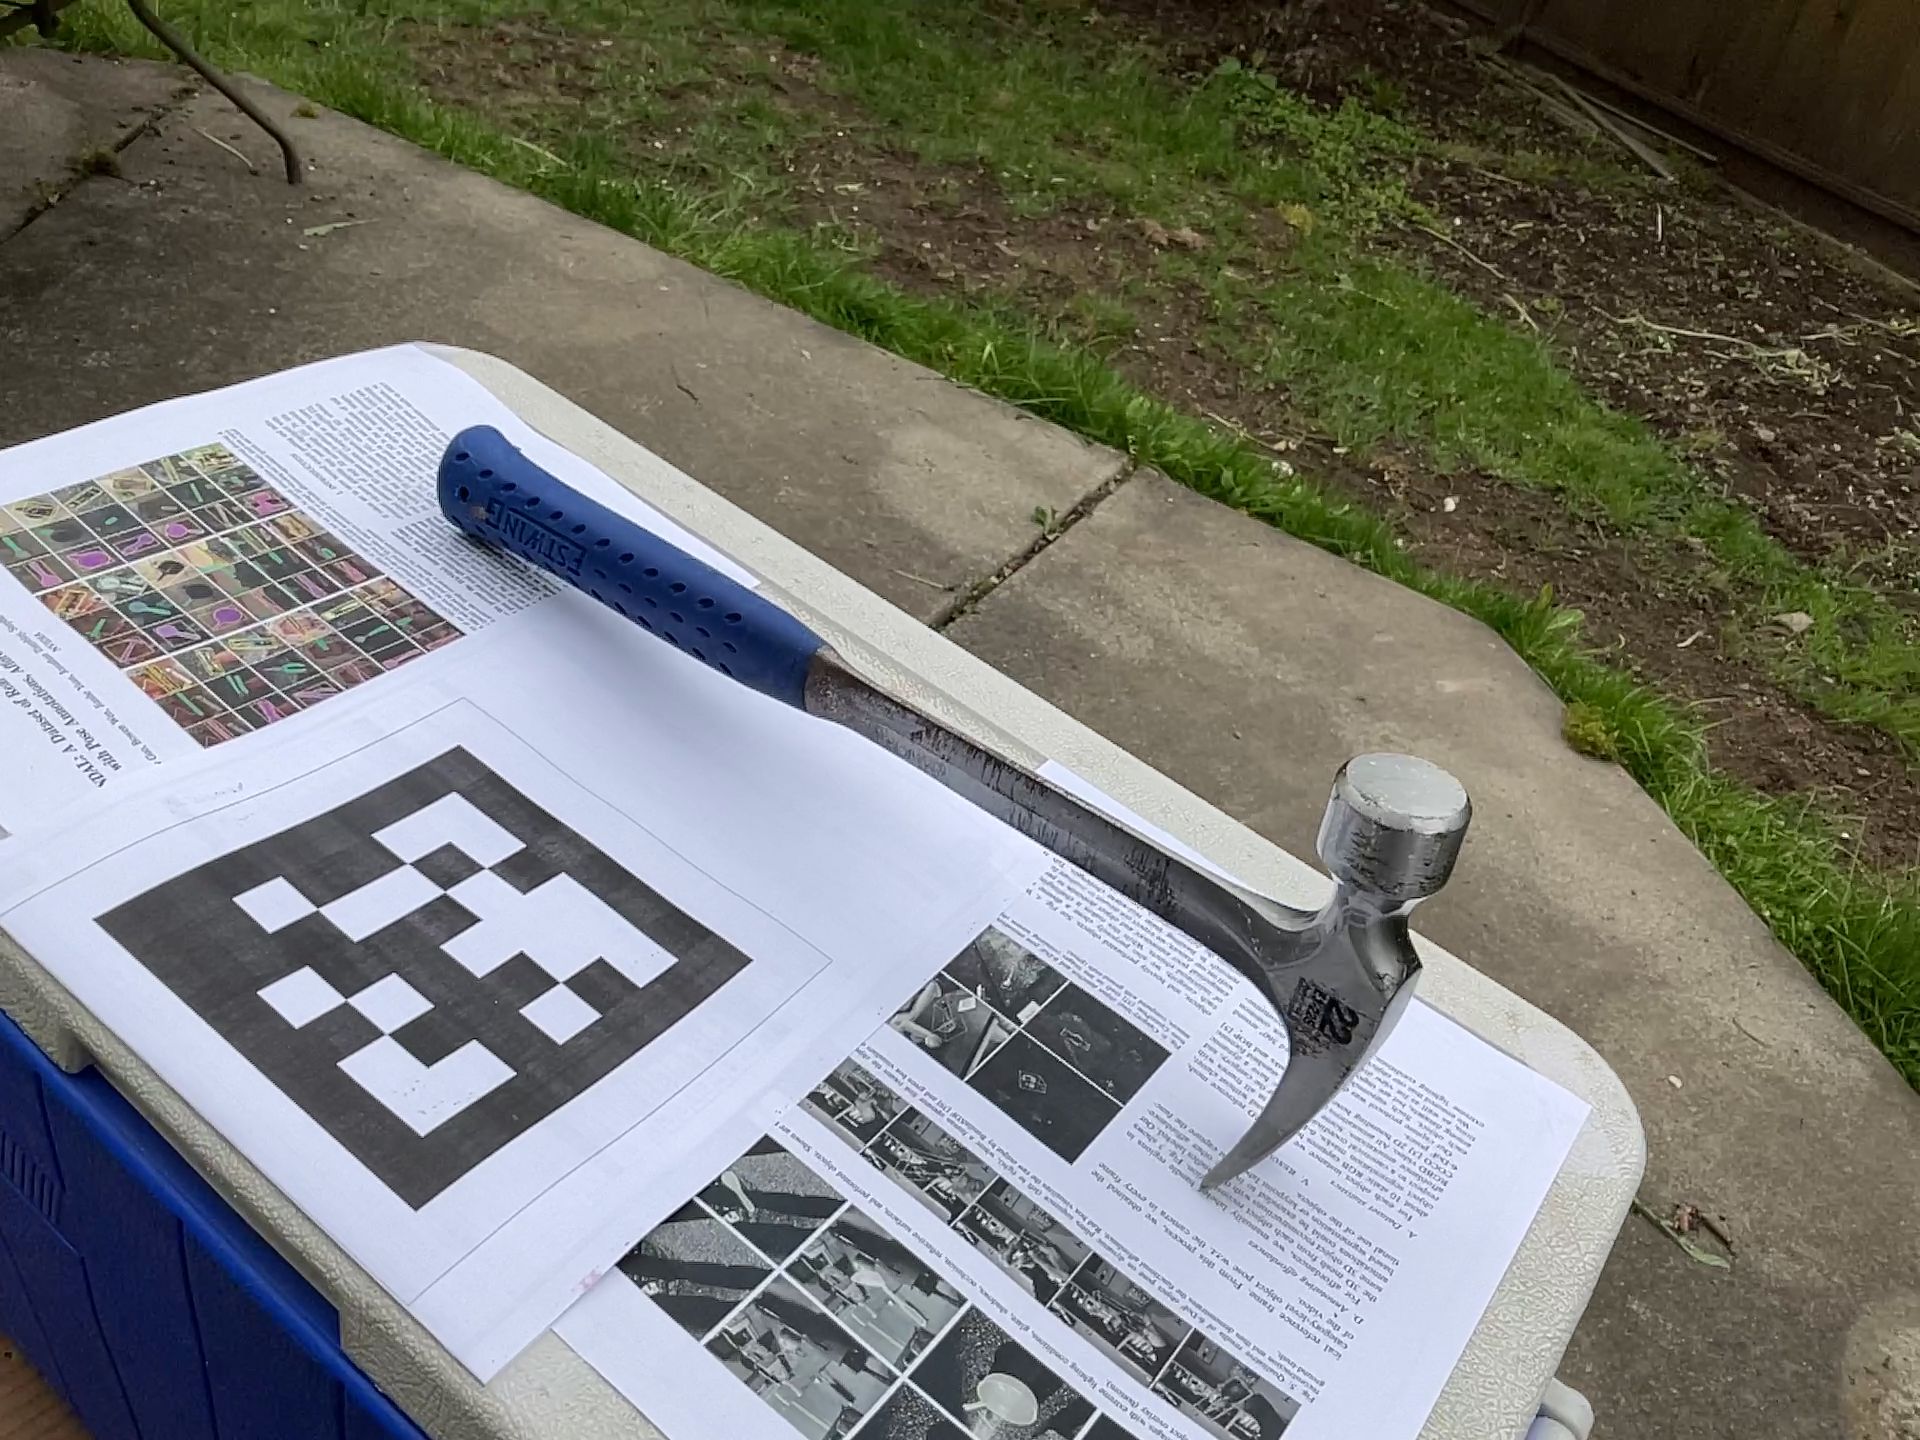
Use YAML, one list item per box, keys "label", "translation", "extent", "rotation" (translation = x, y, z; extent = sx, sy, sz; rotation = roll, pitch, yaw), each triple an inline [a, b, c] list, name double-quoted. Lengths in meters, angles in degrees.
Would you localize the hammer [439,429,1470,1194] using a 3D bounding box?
- label: "hammer"
  translation: [-0.039, -0.002, 0.524]
  extent: [0.406, 0.144, 0.035]
  rotation: [30, 36, 31]
